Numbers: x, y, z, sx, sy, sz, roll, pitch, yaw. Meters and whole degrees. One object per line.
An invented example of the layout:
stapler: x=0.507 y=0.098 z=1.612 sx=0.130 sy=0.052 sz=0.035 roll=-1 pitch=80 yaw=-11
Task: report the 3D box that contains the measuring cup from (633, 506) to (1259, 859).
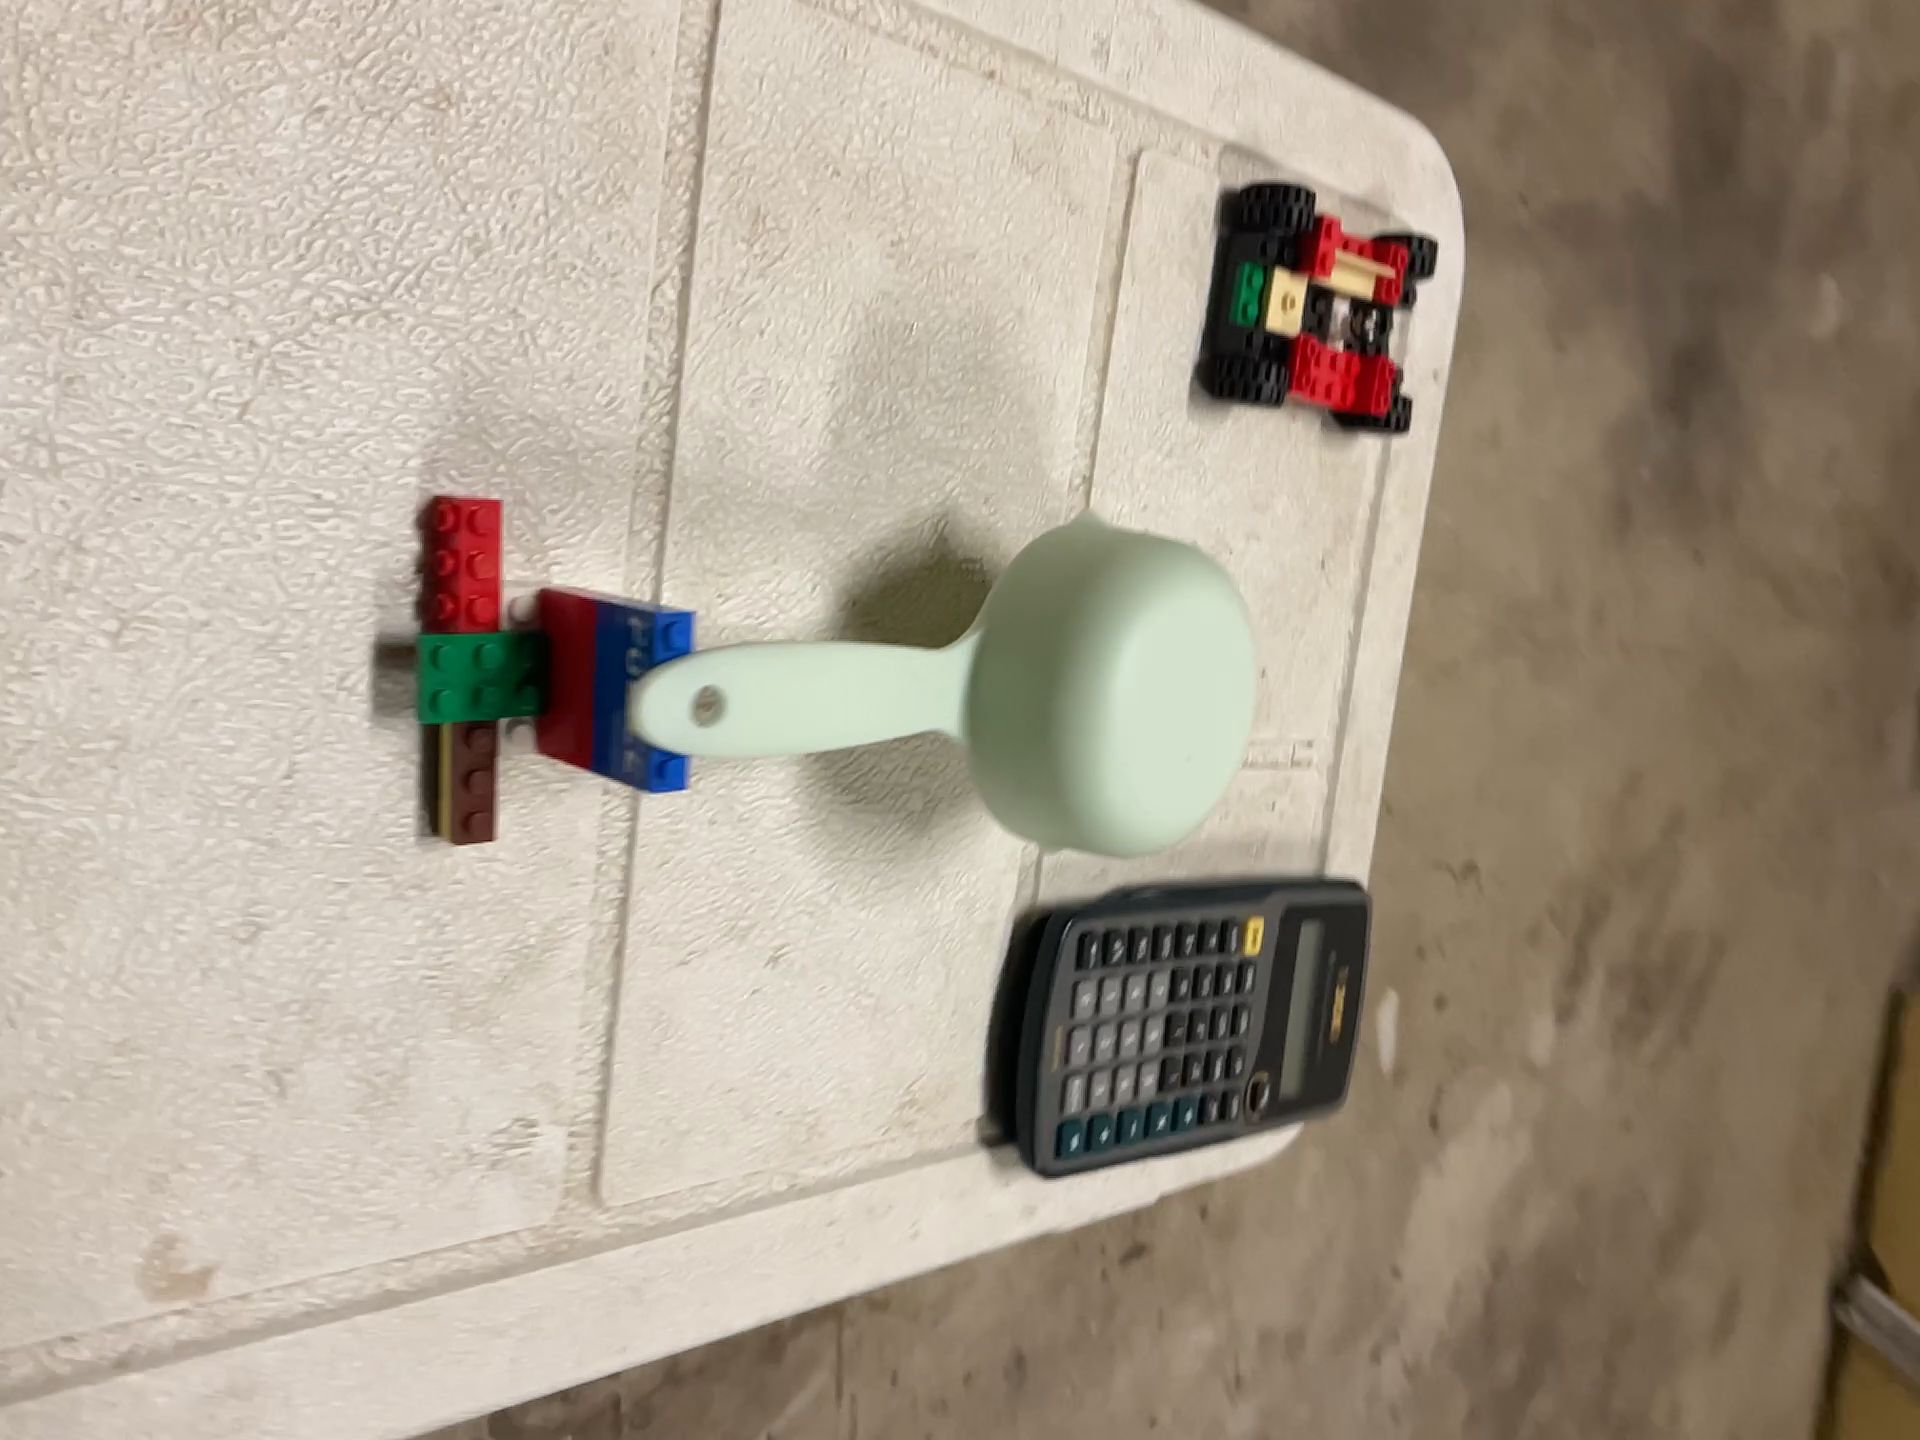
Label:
measuring cup: x=0.009 y=-0.004 z=0.330 sx=0.168 sy=0.038 sz=0.083 roll=-4 pitch=102 yaw=-51
